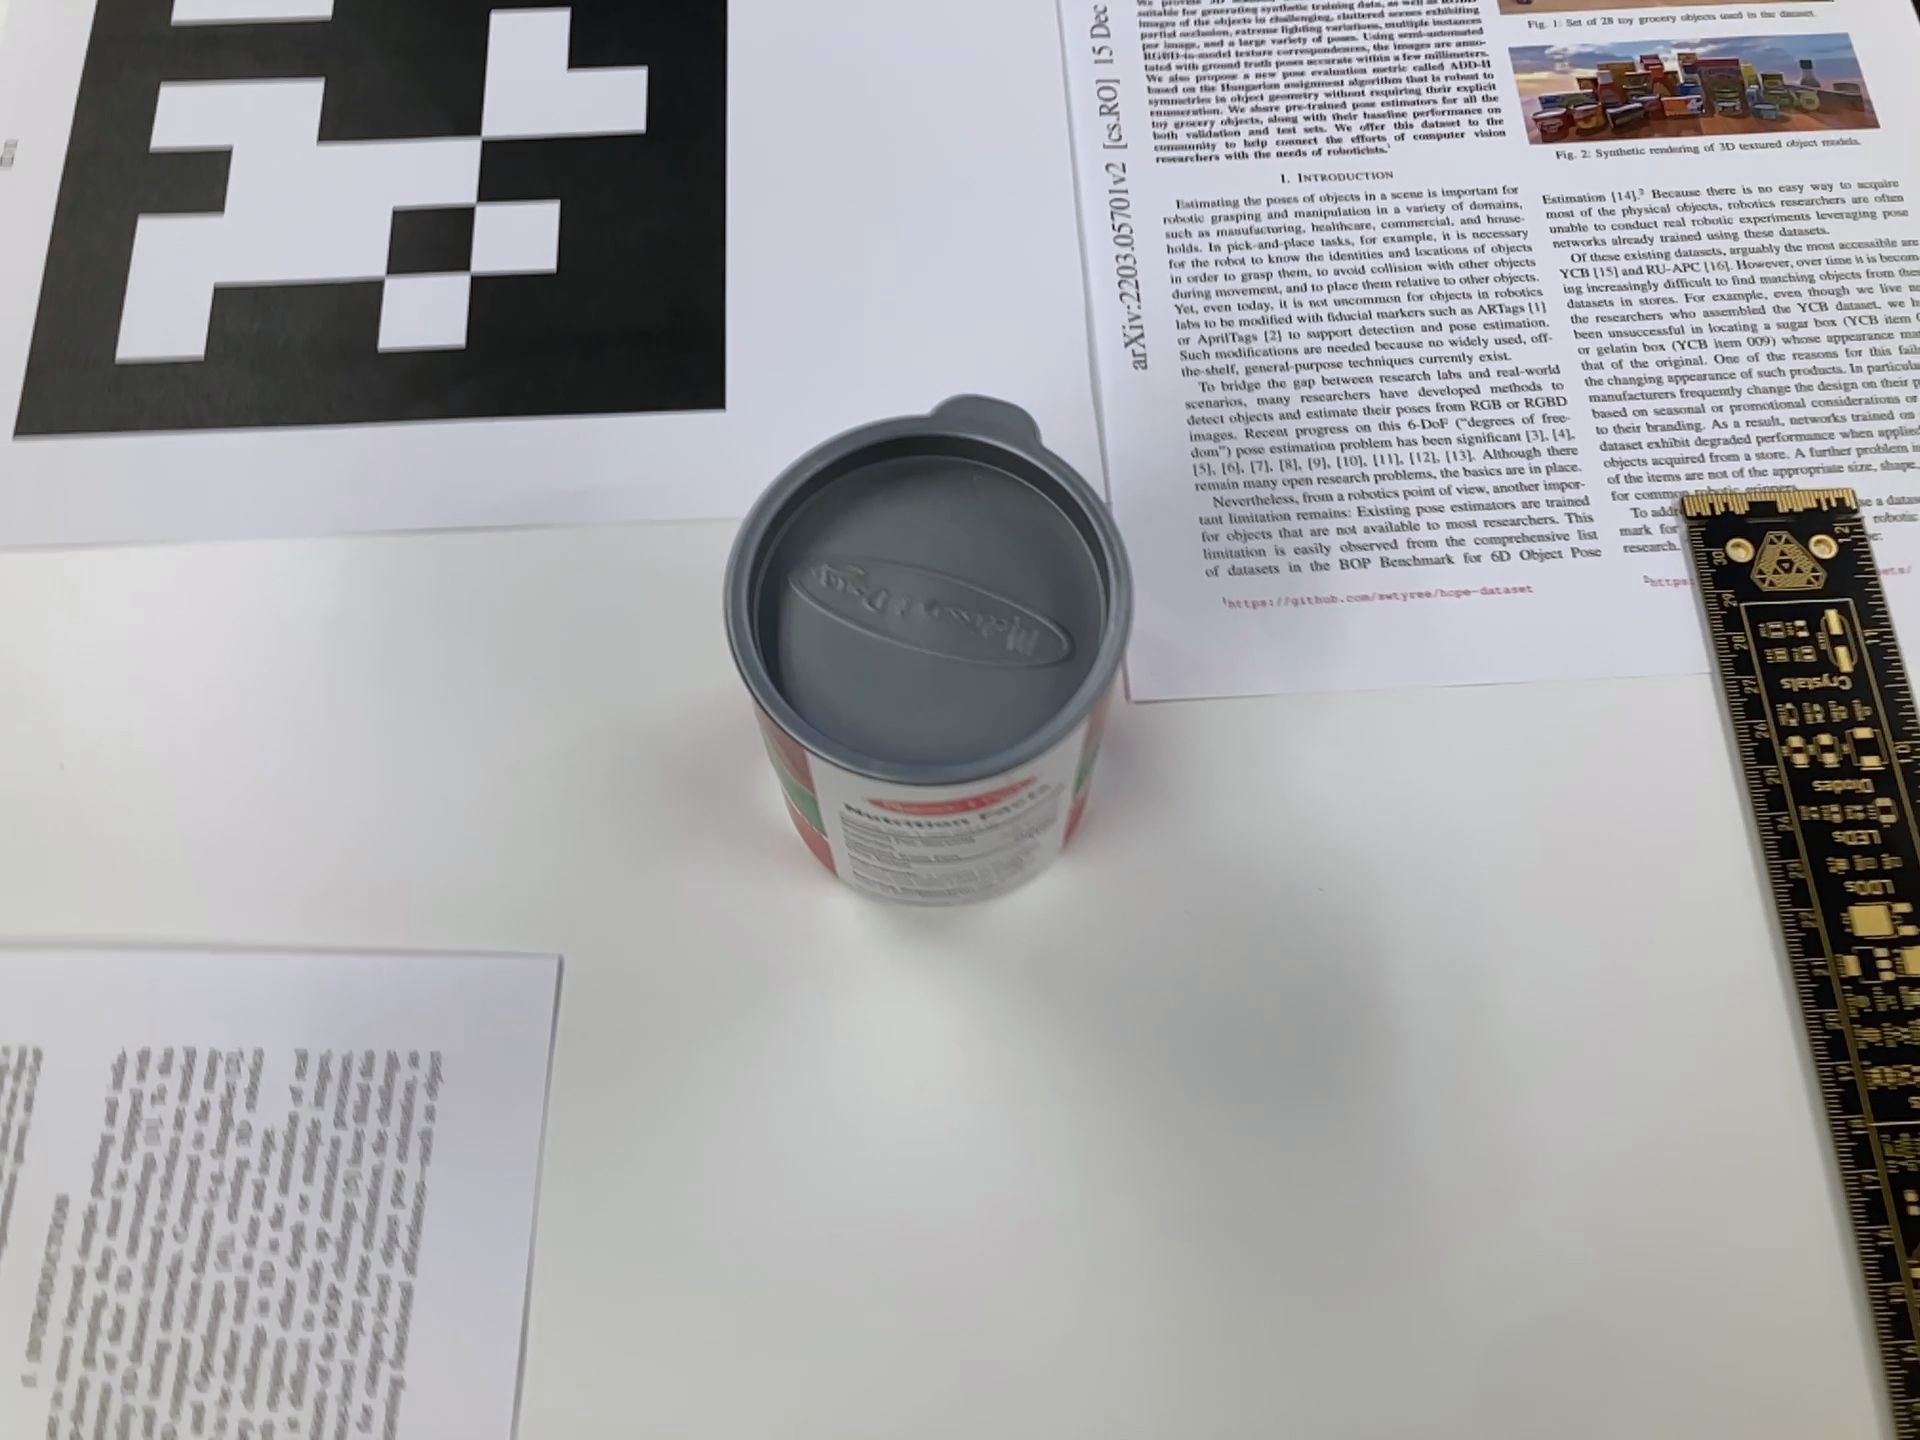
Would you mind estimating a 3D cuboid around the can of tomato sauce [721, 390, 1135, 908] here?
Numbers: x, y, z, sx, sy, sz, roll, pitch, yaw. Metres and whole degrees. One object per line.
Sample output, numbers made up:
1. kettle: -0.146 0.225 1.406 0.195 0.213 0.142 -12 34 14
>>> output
1. can of tomato sauce: -0.005 -0.009 0.295 0.071 0.083 0.071 0 69 0
